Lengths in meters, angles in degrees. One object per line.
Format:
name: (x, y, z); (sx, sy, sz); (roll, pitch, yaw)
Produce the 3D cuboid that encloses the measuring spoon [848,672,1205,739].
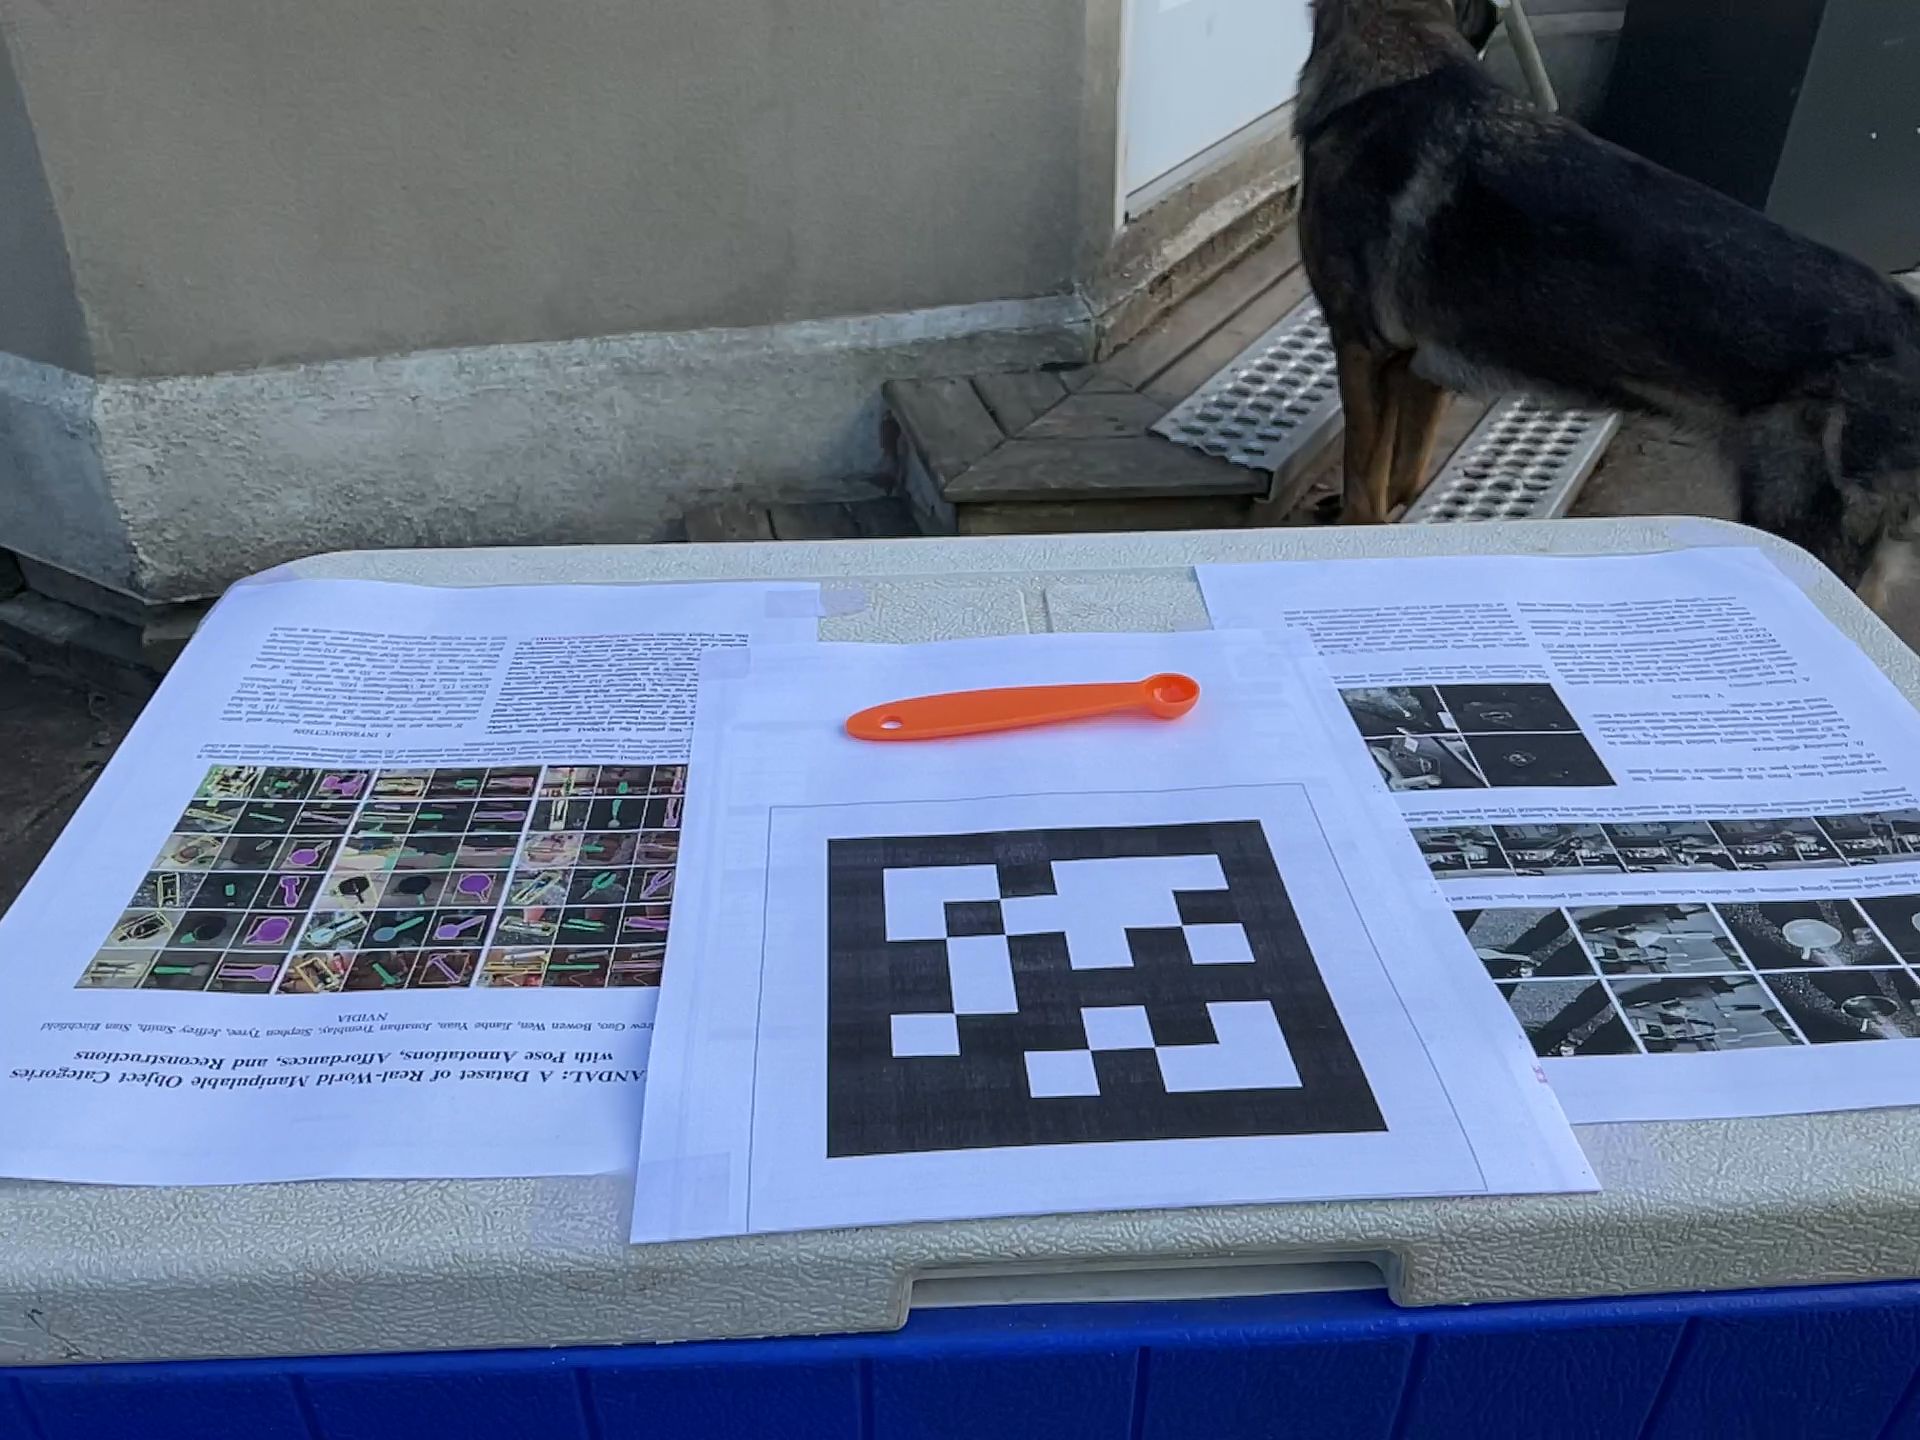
measuring spoon: (0.022, -0.002, 0.524); (0.117, 0.011, 0.021); (-6, 34, -3)
